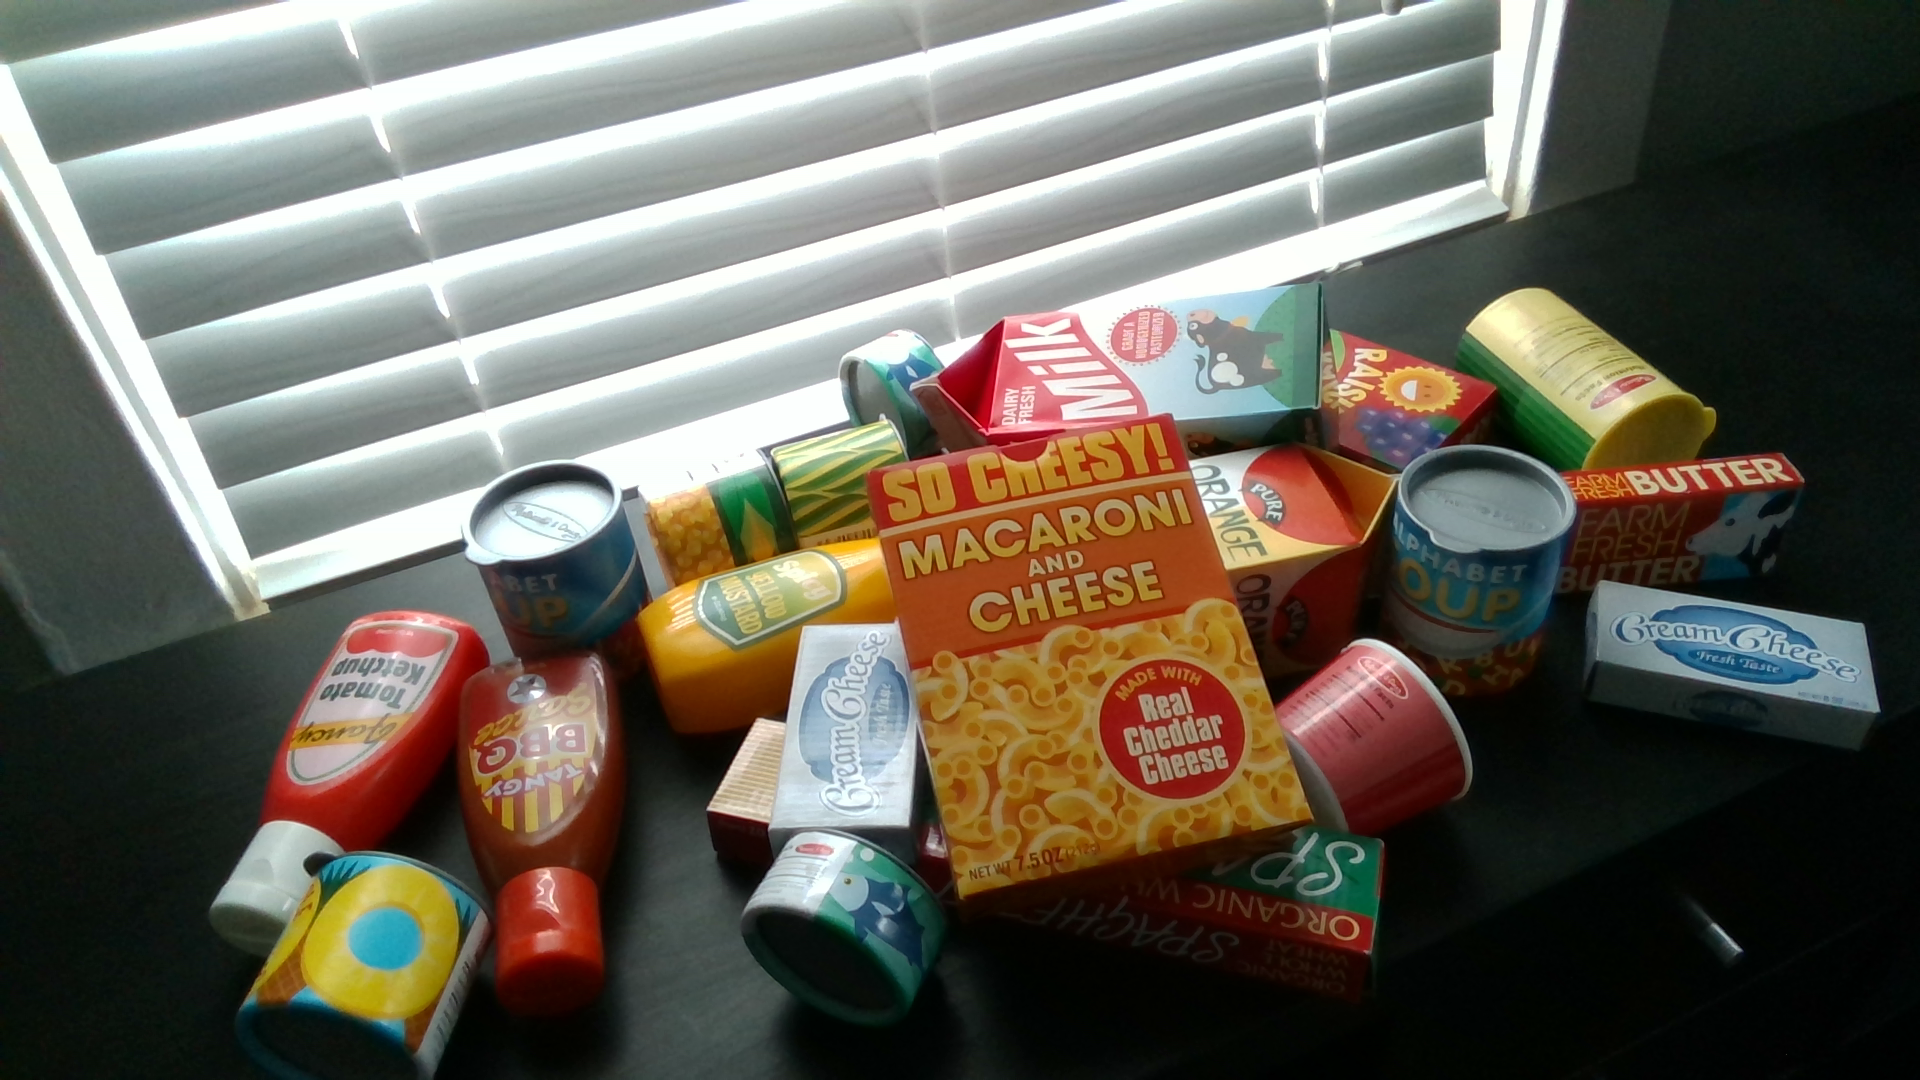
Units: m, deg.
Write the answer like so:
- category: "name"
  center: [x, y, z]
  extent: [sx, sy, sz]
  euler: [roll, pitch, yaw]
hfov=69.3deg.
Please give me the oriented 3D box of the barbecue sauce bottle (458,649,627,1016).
- category: "barbecue sauce bottle"
  center: [-0.158, 0.107, 0.530]
  extent: [0.065, 0.043, 0.149]
  euler: [-13, 41, -8]

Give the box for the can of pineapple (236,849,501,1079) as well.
- category: "can of pineapple"
  center: [-0.200, 0.147, 0.469]
  extent: [0.071, 0.070, 0.058]
  euler: [2, 41, 9]

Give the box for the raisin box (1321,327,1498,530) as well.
- category: "raisin box"
  center: [0.189, -0.062, 0.692]
  extent: [0.123, 0.039, 0.086]
  euler: [29, 51, 33]

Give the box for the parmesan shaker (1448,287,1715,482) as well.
- category: "parmesan shaker"
  center: [0.295, -0.070, 0.668]
  extent: [0.071, 0.071, 0.103]
  euler: [-16, 42, -13]

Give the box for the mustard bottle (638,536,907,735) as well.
- category: "mustard bottle"
  center: [-0.056, 0.031, 0.604]
  extent: [0.161, 0.048, 0.065]
  euler: [-21, 44, -18]

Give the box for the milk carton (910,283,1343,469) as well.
- category: "milk carton"
  center: [0.077, -0.060, 0.649]
  extent: [0.190, 0.072, 0.074]
  euler: [-4, 57, 21]

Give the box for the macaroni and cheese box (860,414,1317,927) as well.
- category: "macaroni and cheese box"
  center: [0.040, 0.040, 0.501]
  extent: [0.124, 0.040, 0.167]
  euler: [-11, 62, -7]

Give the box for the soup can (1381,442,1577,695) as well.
- category: "soup can"
  center: [0.208, 0.014, 0.568]
  extent: [0.071, 0.083, 0.072]
  euler: [-4, 40, 3]

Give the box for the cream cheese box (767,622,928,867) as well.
- category: "cream cheese box"
  center: [-0.039, 0.075, 0.526]
  extent: [0.053, 0.024, 0.104]
  euler: [-3, 41, 5]

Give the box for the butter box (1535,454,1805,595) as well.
- category: "butter box"
  center: [0.305, -0.006, 0.603]
  extent: [0.103, 0.052, 0.024]
  euler: [-5, 38, -1]

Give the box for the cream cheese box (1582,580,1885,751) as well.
- category: "cream cheese box"
  center: [0.310, 0.049, 0.564]
  extent: [0.104, 0.024, 0.054]
  euler: [10, 41, 15]

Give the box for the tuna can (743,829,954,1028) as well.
- category: "tuna can"
  center: [-0.037, 0.134, 0.472]
  extent: [0.071, 0.070, 0.033]
  euler: [16, 46, 22]

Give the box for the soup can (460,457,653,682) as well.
- category: "soup can"
  center: [-0.173, 0.018, 0.602]
  extent: [0.071, 0.083, 0.072]
  euler: [-3, 41, 3]

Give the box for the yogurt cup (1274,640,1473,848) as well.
- category: "yogurt cup"
  center: [0.148, 0.079, 0.518]
  extent: [0.054, 0.072, 0.072]
  euler: [-28, 45, -12]

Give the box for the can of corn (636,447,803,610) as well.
- category: "can of corn"
  center: [-0.108, 0.000, 0.634]
  extent: [0.058, 0.070, 0.071]
  euler: [-20, 43, -16]

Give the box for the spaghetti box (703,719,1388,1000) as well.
- category: "spaghetti box"
  center: [0.029, 0.114, 0.512]
  extent: [0.250, 0.028, 0.050]
  euler: [9, 41, 16]

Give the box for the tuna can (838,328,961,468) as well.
- category: "tuna can"
  center: [-0.030, -0.068, 0.702]
  extent: [0.033, 0.070, 0.071]
  euler: [-28, 46, -24]

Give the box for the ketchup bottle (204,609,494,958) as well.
- category: "ketchup bottle"
  center: [-0.244, 0.093, 0.554]
  extent: [0.065, 0.043, 0.149]
  euler: [2, 42, 10]

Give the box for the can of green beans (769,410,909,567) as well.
- category: "can of green beans"
  center: [-0.053, -0.019, 0.647]
  extent: [0.058, 0.071, 0.071]
  euler: [-14, 42, -9]

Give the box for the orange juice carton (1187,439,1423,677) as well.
- category: "orange juice carton"
  center: [0.099, 0.014, 0.584]
  extent: [0.193, 0.071, 0.073]
  euler: [-10, 43, -9]
